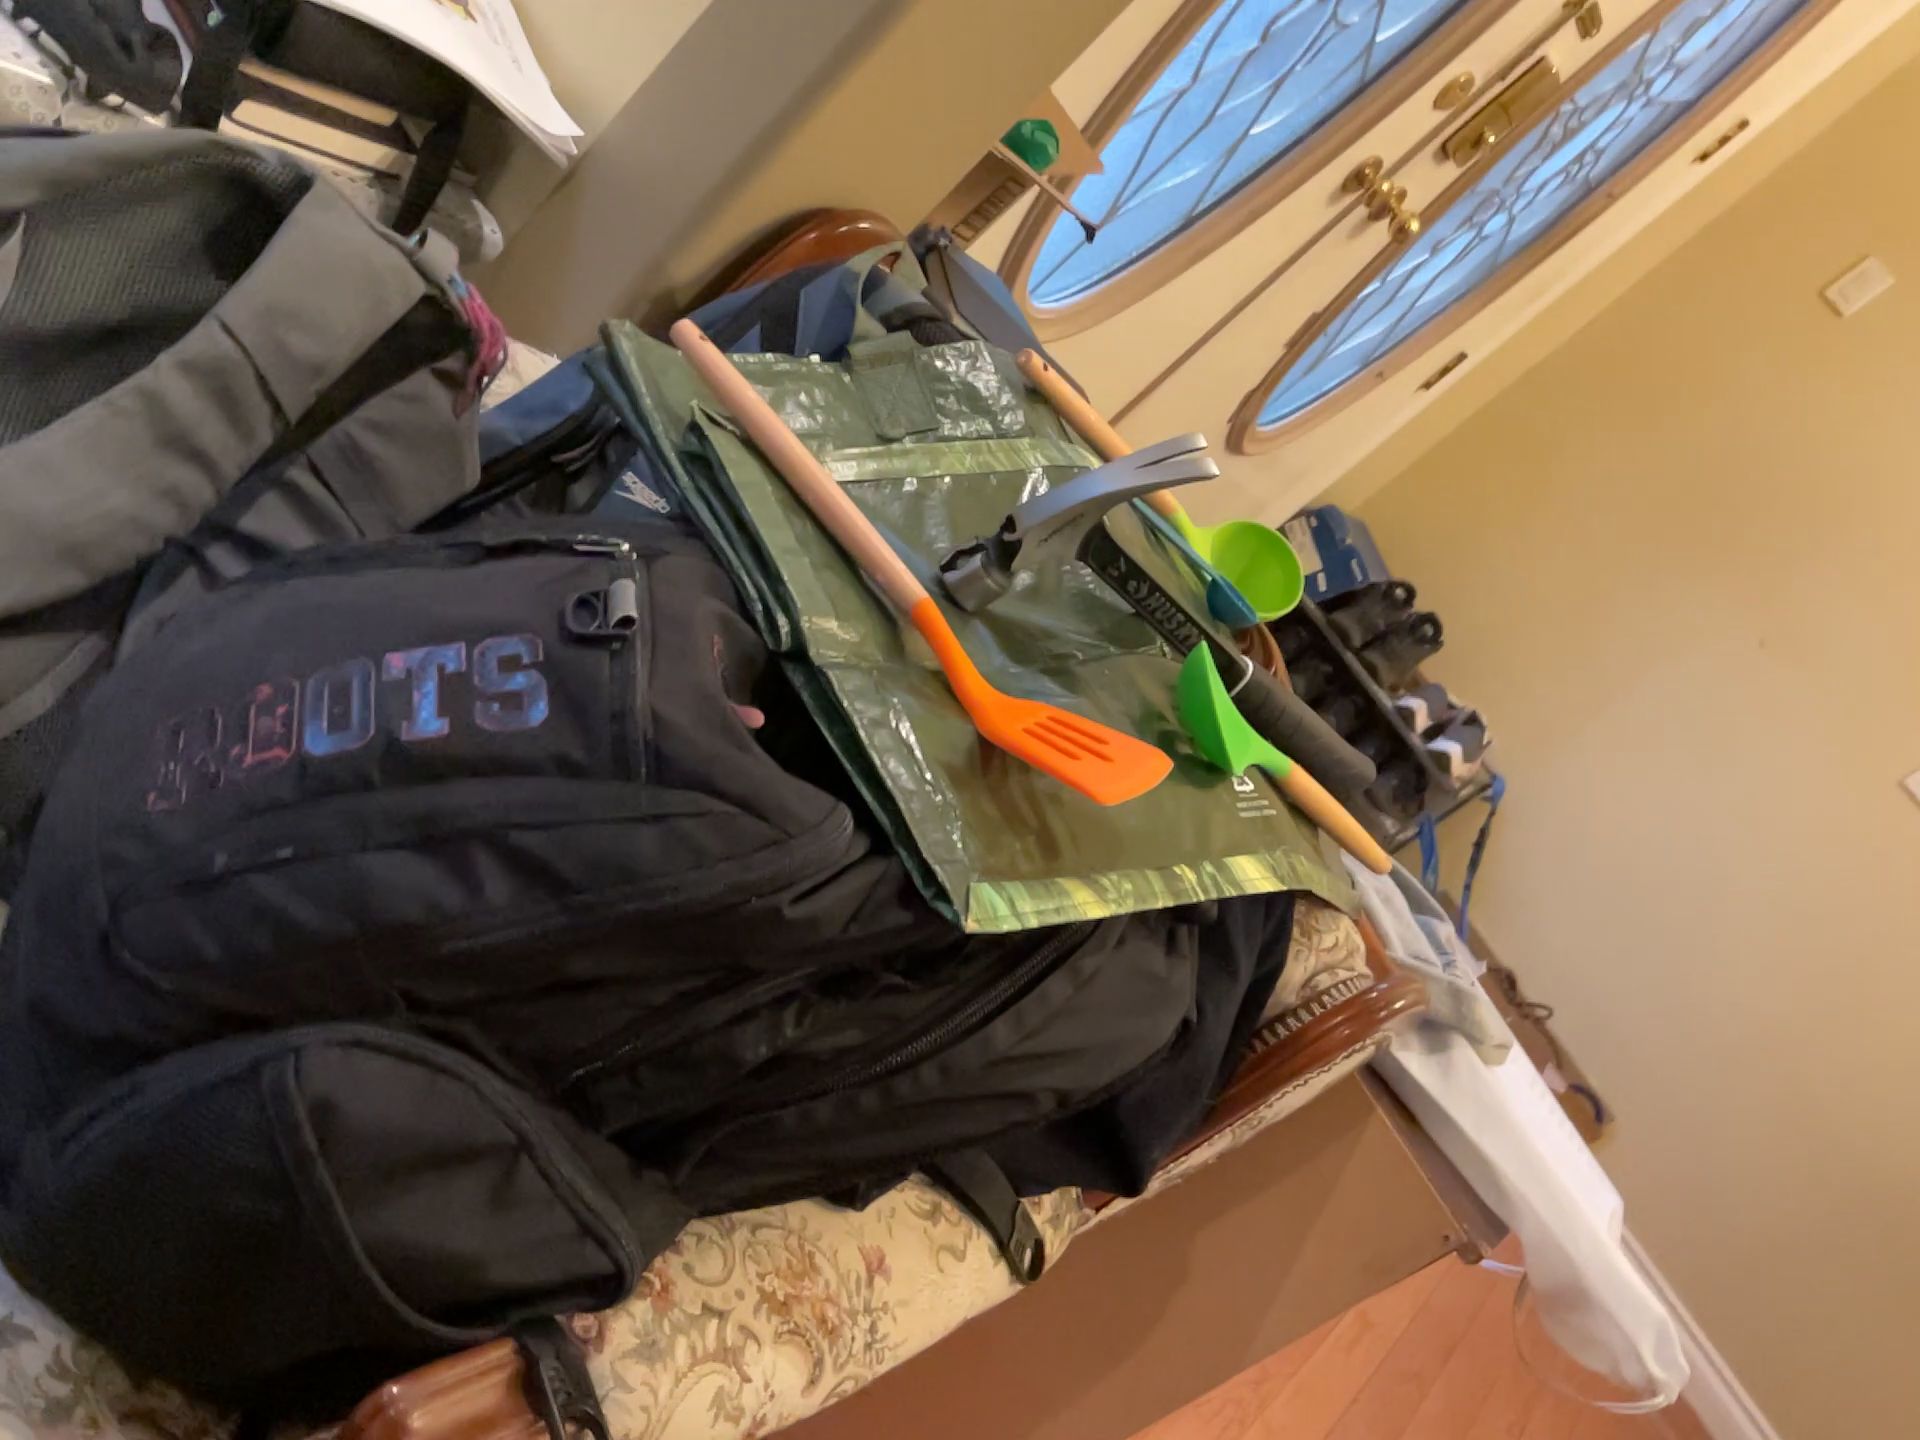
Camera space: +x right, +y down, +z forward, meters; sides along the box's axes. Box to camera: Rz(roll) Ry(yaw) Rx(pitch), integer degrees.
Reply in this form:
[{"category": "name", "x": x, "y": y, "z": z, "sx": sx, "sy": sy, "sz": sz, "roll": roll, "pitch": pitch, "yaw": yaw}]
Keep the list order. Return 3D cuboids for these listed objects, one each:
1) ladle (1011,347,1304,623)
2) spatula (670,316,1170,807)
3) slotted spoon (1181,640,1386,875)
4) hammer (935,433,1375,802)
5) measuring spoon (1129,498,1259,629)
[{"category": "ladle", "x": 0.134, "y": -0.152, "z": 1.028, "sx": 0.319, "sy": 0.062, "sz": 0.078, "roll": 34, "pitch": 51, "yaw": -47}, {"category": "spatula", "x": -0.030, "y": -0.077, "z": 0.740, "sx": 0.323, "sy": 0.041, "sz": 0.081, "roll": 50, "pitch": 30, "yaw": 11}, {"category": "slotted spoon", "x": 0.194, "y": 0.039, "z": 0.921, "sx": 0.313, "sy": 0.031, "sz": 0.070, "roll": 36, "pitch": 39, "yaw": -51}, {"category": "hammer", "x": 0.158, "y": -0.035, "z": 0.935, "sx": 0.408, "sy": 0.149, "sz": 0.036, "roll": 34, "pitch": 35, "yaw": -48}, {"category": "measuring spoon", "x": 0.143, "y": -0.098, "z": 1.011, "sx": 0.128, "sy": 0.021, "sz": 0.042, "roll": 38, "pitch": 22, "yaw": -27}]
